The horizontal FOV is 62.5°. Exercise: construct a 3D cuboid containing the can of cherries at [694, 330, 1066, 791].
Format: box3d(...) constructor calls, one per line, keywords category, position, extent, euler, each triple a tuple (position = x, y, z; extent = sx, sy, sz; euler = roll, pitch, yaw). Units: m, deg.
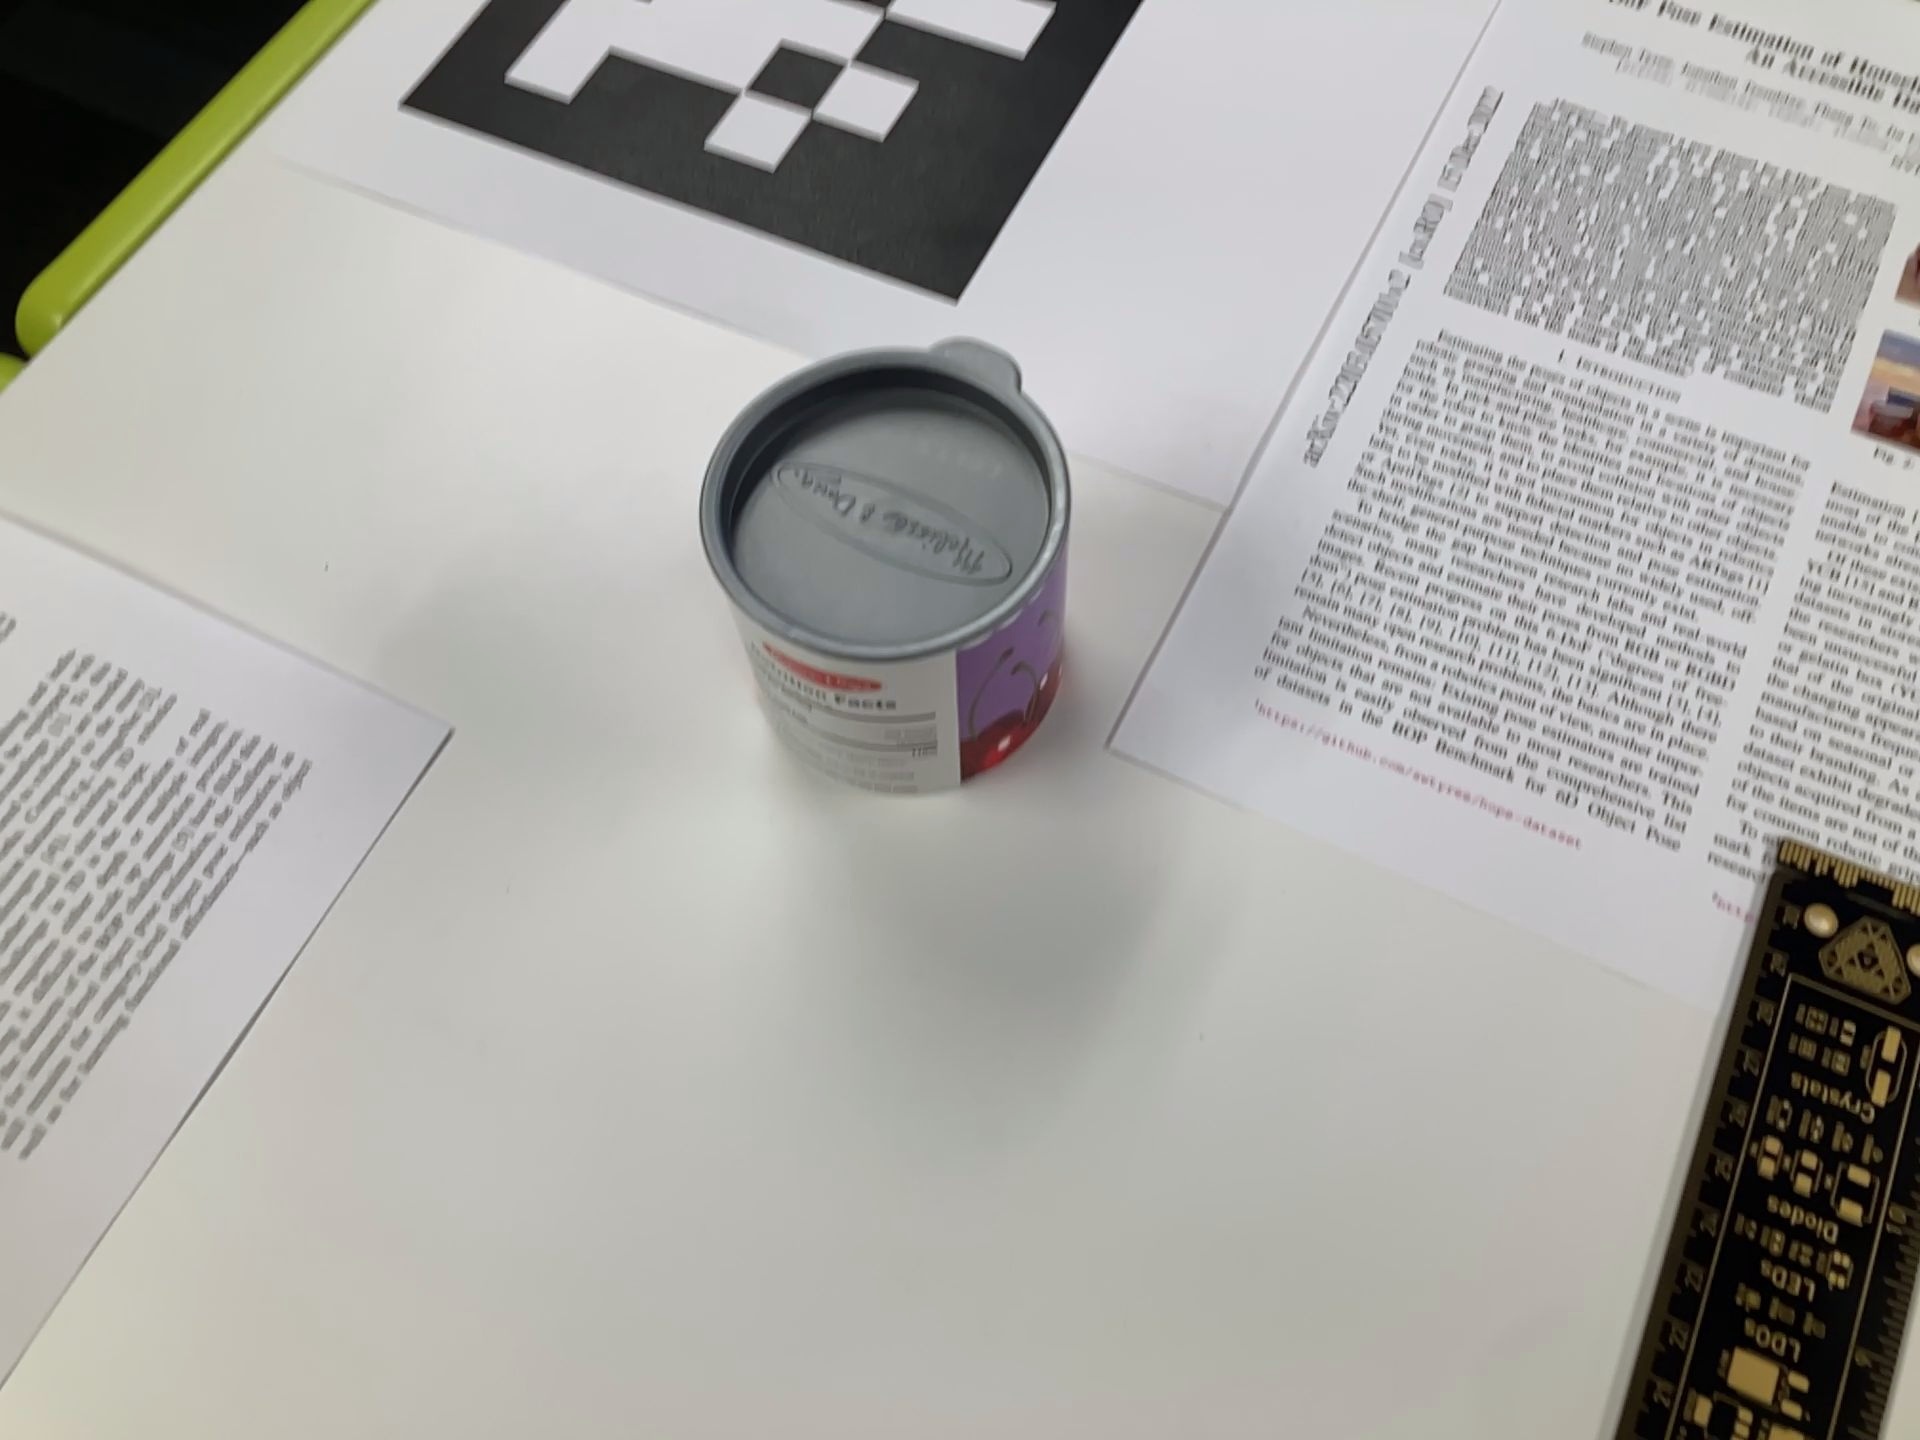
box3d(category="can of cherries", position=(-0.011, -0.029, 0.305), extent=(0.071, 0.058, 0.071), euler=(-1, 63, 2))
